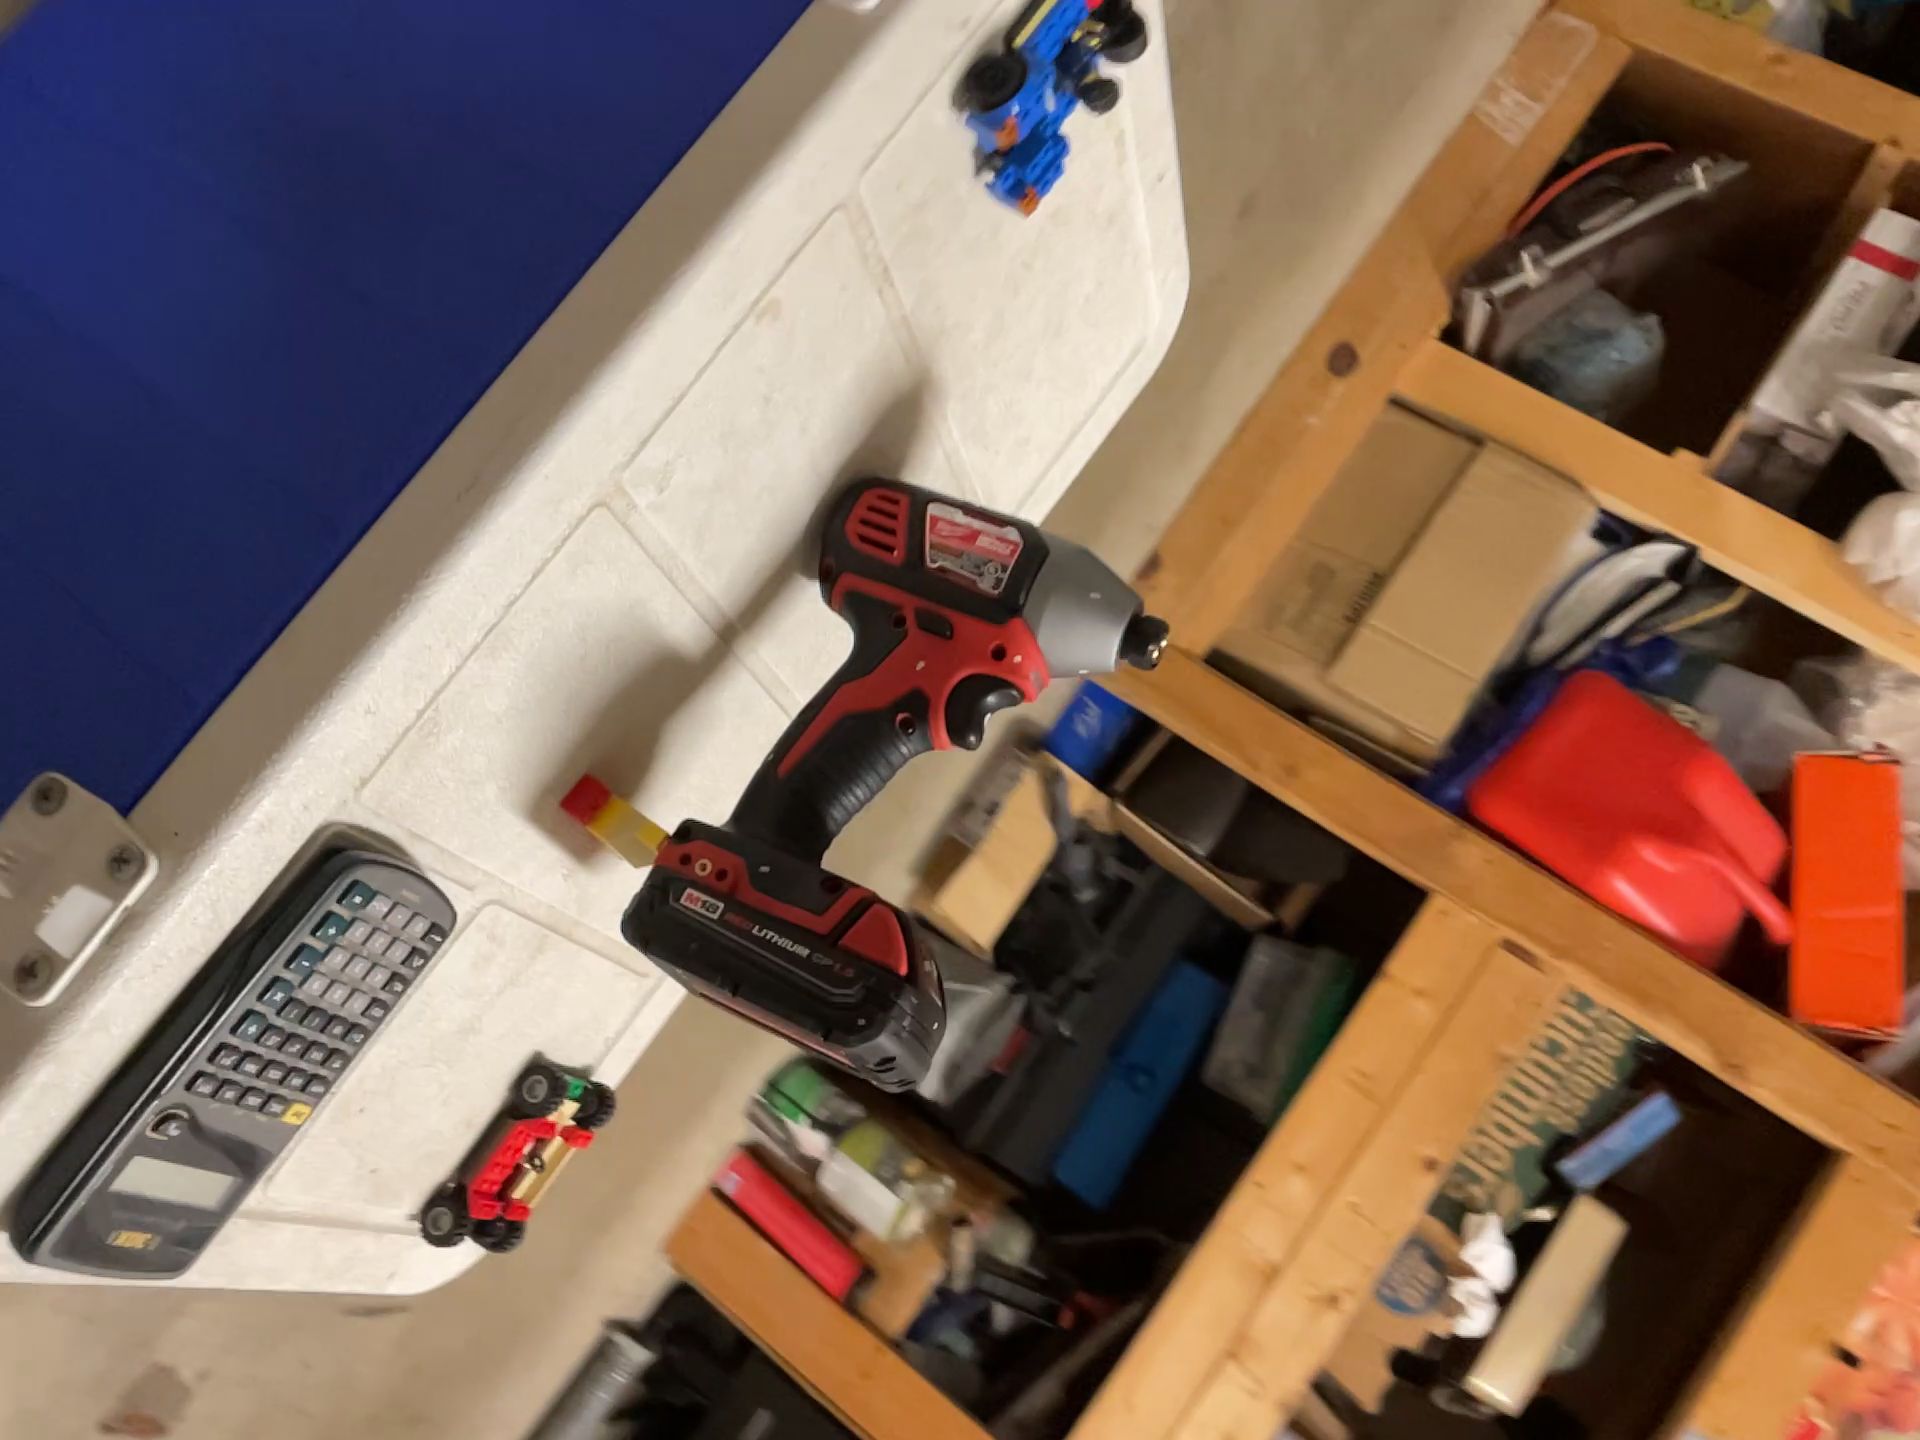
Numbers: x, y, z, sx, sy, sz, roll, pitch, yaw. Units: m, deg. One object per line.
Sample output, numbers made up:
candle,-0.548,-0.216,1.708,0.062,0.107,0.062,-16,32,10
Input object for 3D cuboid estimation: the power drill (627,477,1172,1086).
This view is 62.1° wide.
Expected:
power drill,-0.018,0.017,0.610,0.220,0.143,0.078,-64,162,-18
